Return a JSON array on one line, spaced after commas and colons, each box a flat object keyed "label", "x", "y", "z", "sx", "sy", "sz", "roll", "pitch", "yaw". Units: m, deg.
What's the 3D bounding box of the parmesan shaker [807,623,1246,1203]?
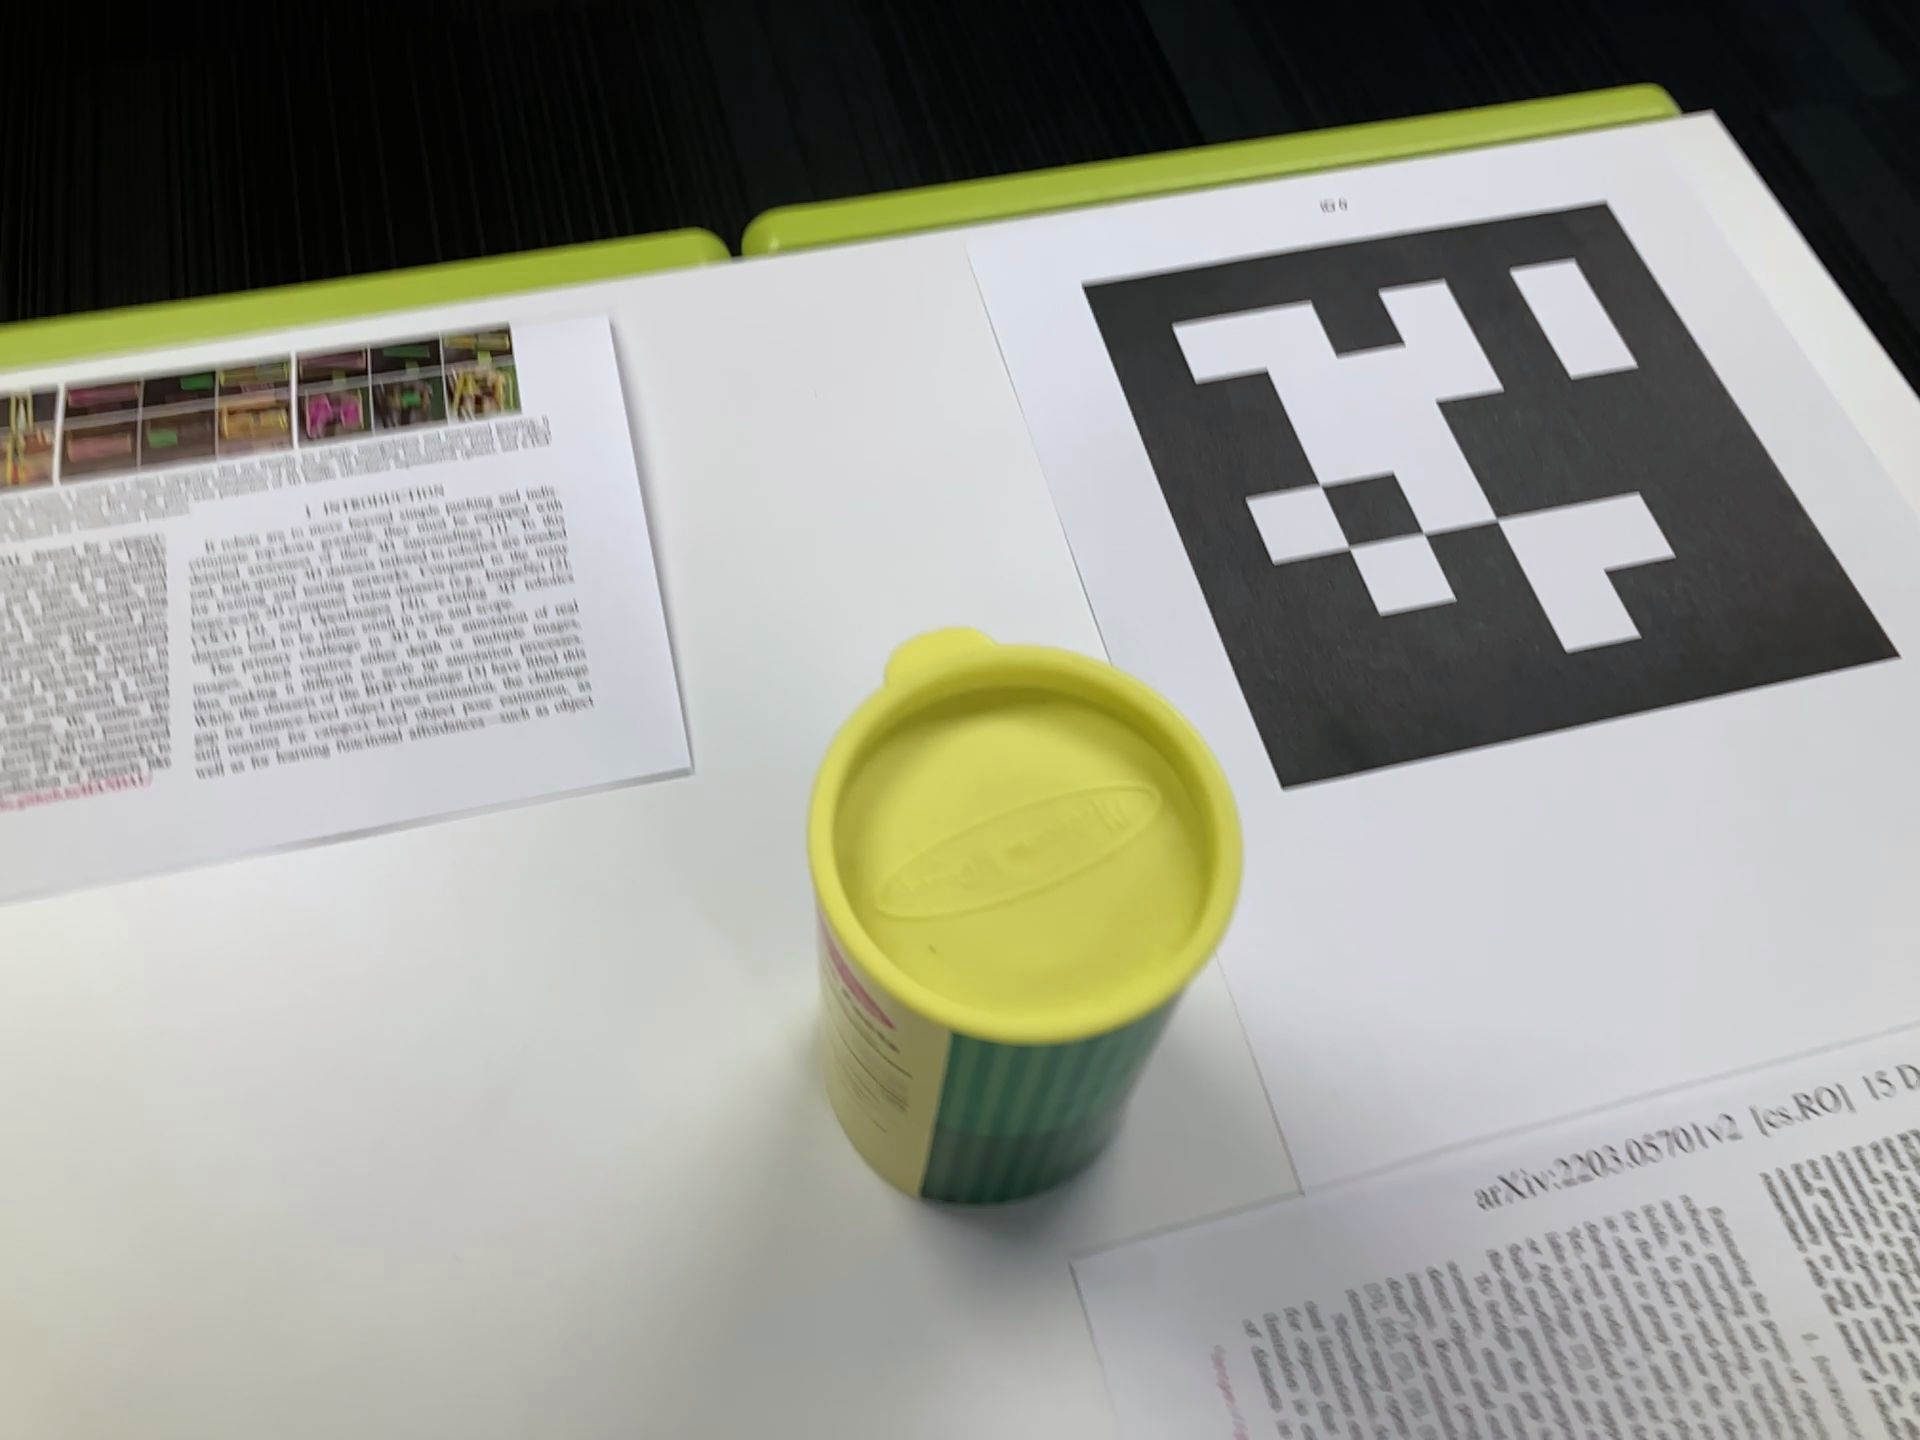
[{"label": "parmesan shaker", "x": 0.007, "y": 0.039, "z": 0.284, "sx": 0.071, "sy": 0.103, "sz": 0.071, "roll": 2, "pitch": 60, "yaw": -3}]
